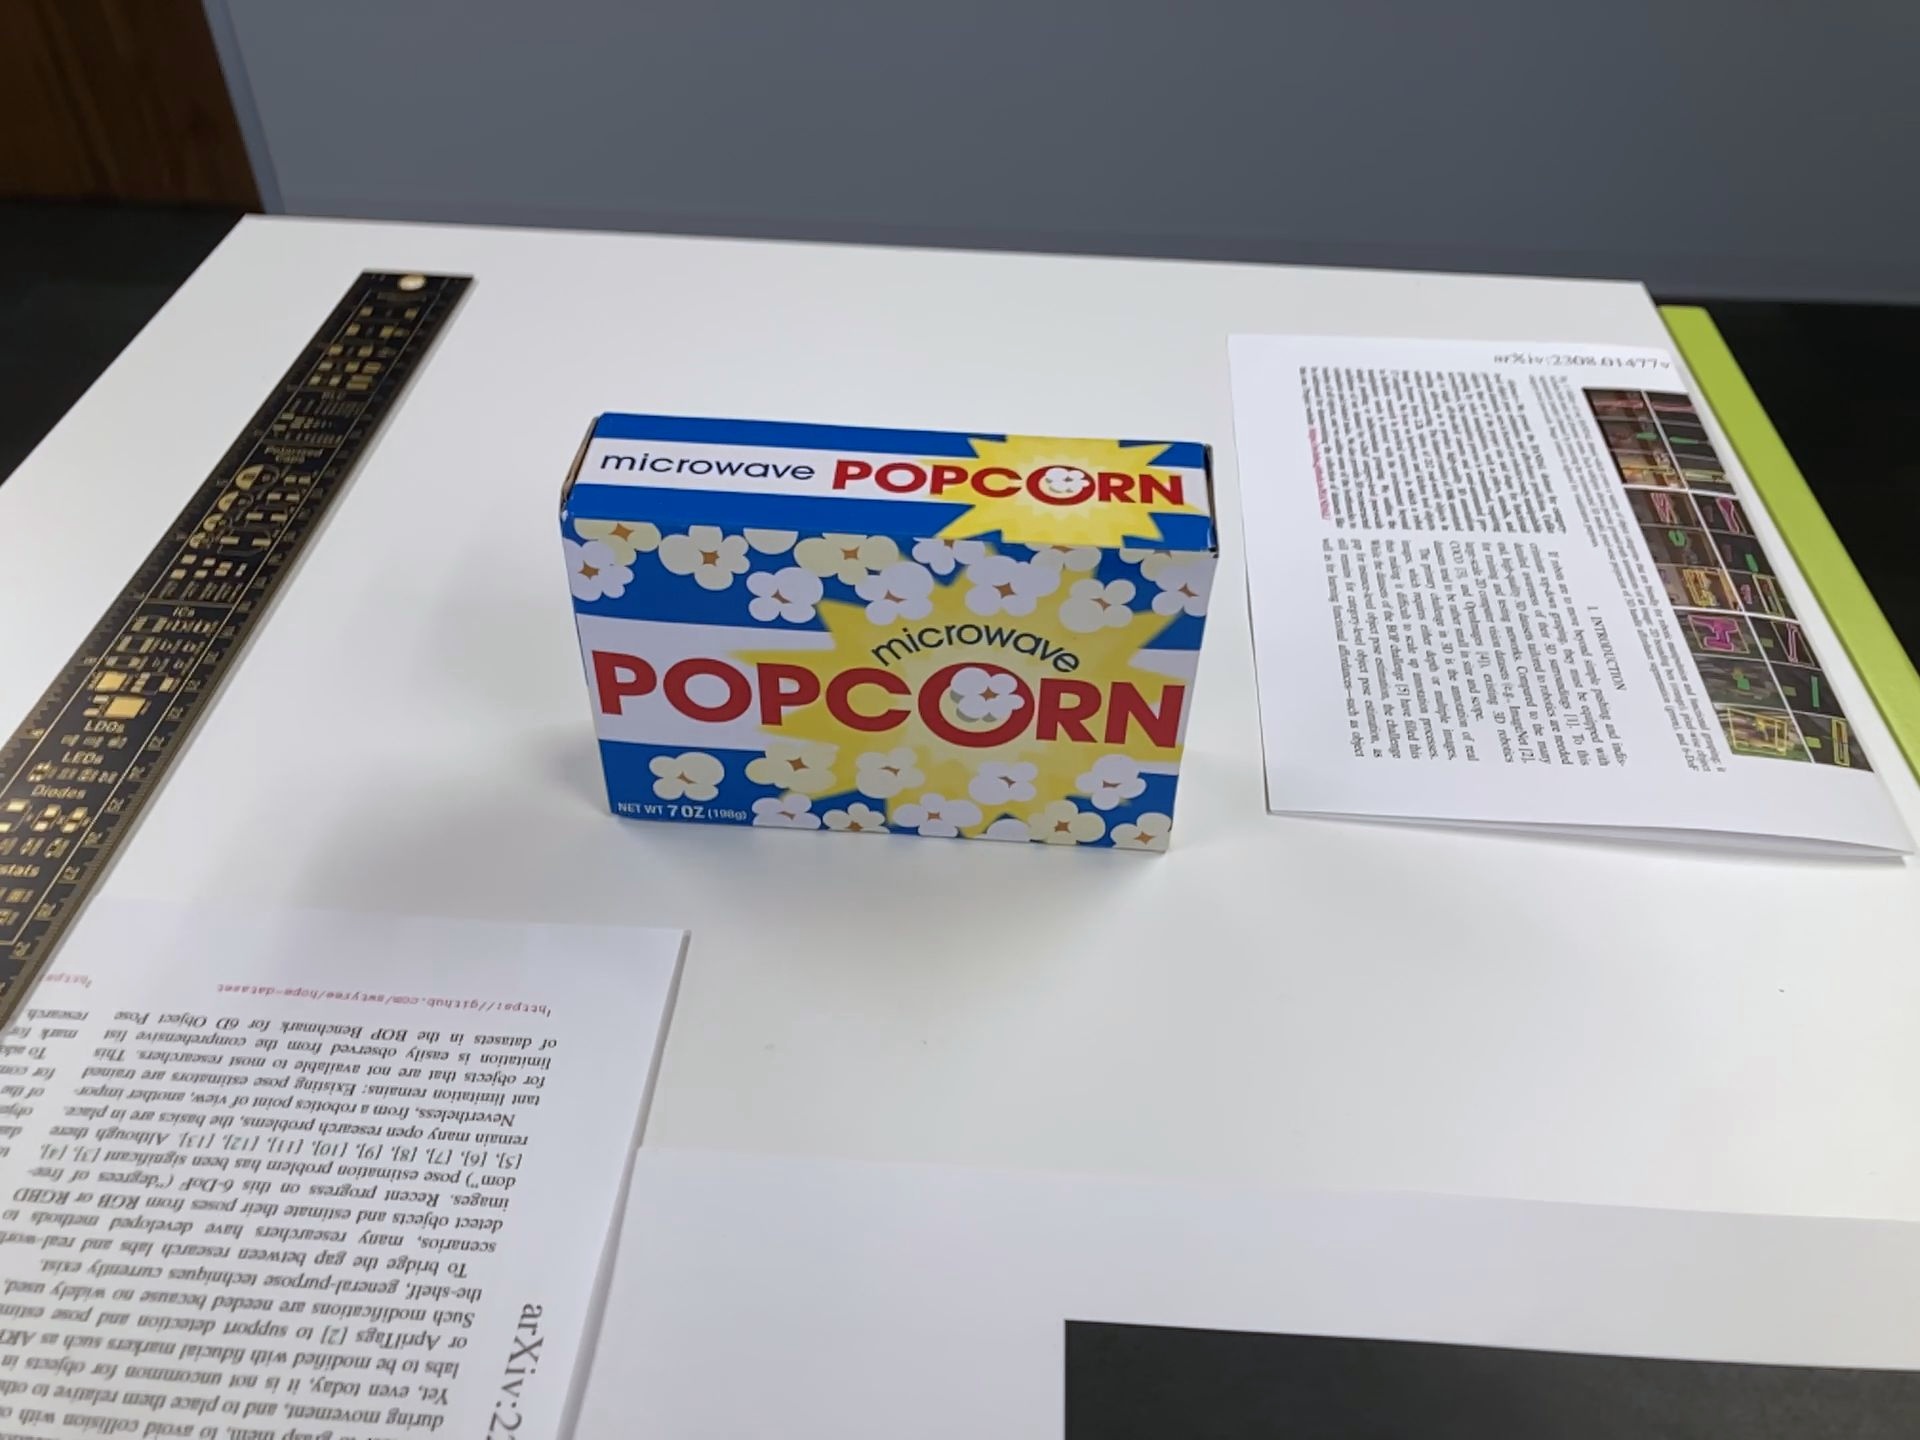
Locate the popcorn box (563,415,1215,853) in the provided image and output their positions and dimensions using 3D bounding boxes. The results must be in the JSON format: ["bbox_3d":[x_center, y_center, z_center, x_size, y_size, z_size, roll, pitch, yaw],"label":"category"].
[{"bbox_3d":[-0.014,-0.017,0.337,0.126,0.085,0.038,3,42,2],"label":"popcorn box"}]
